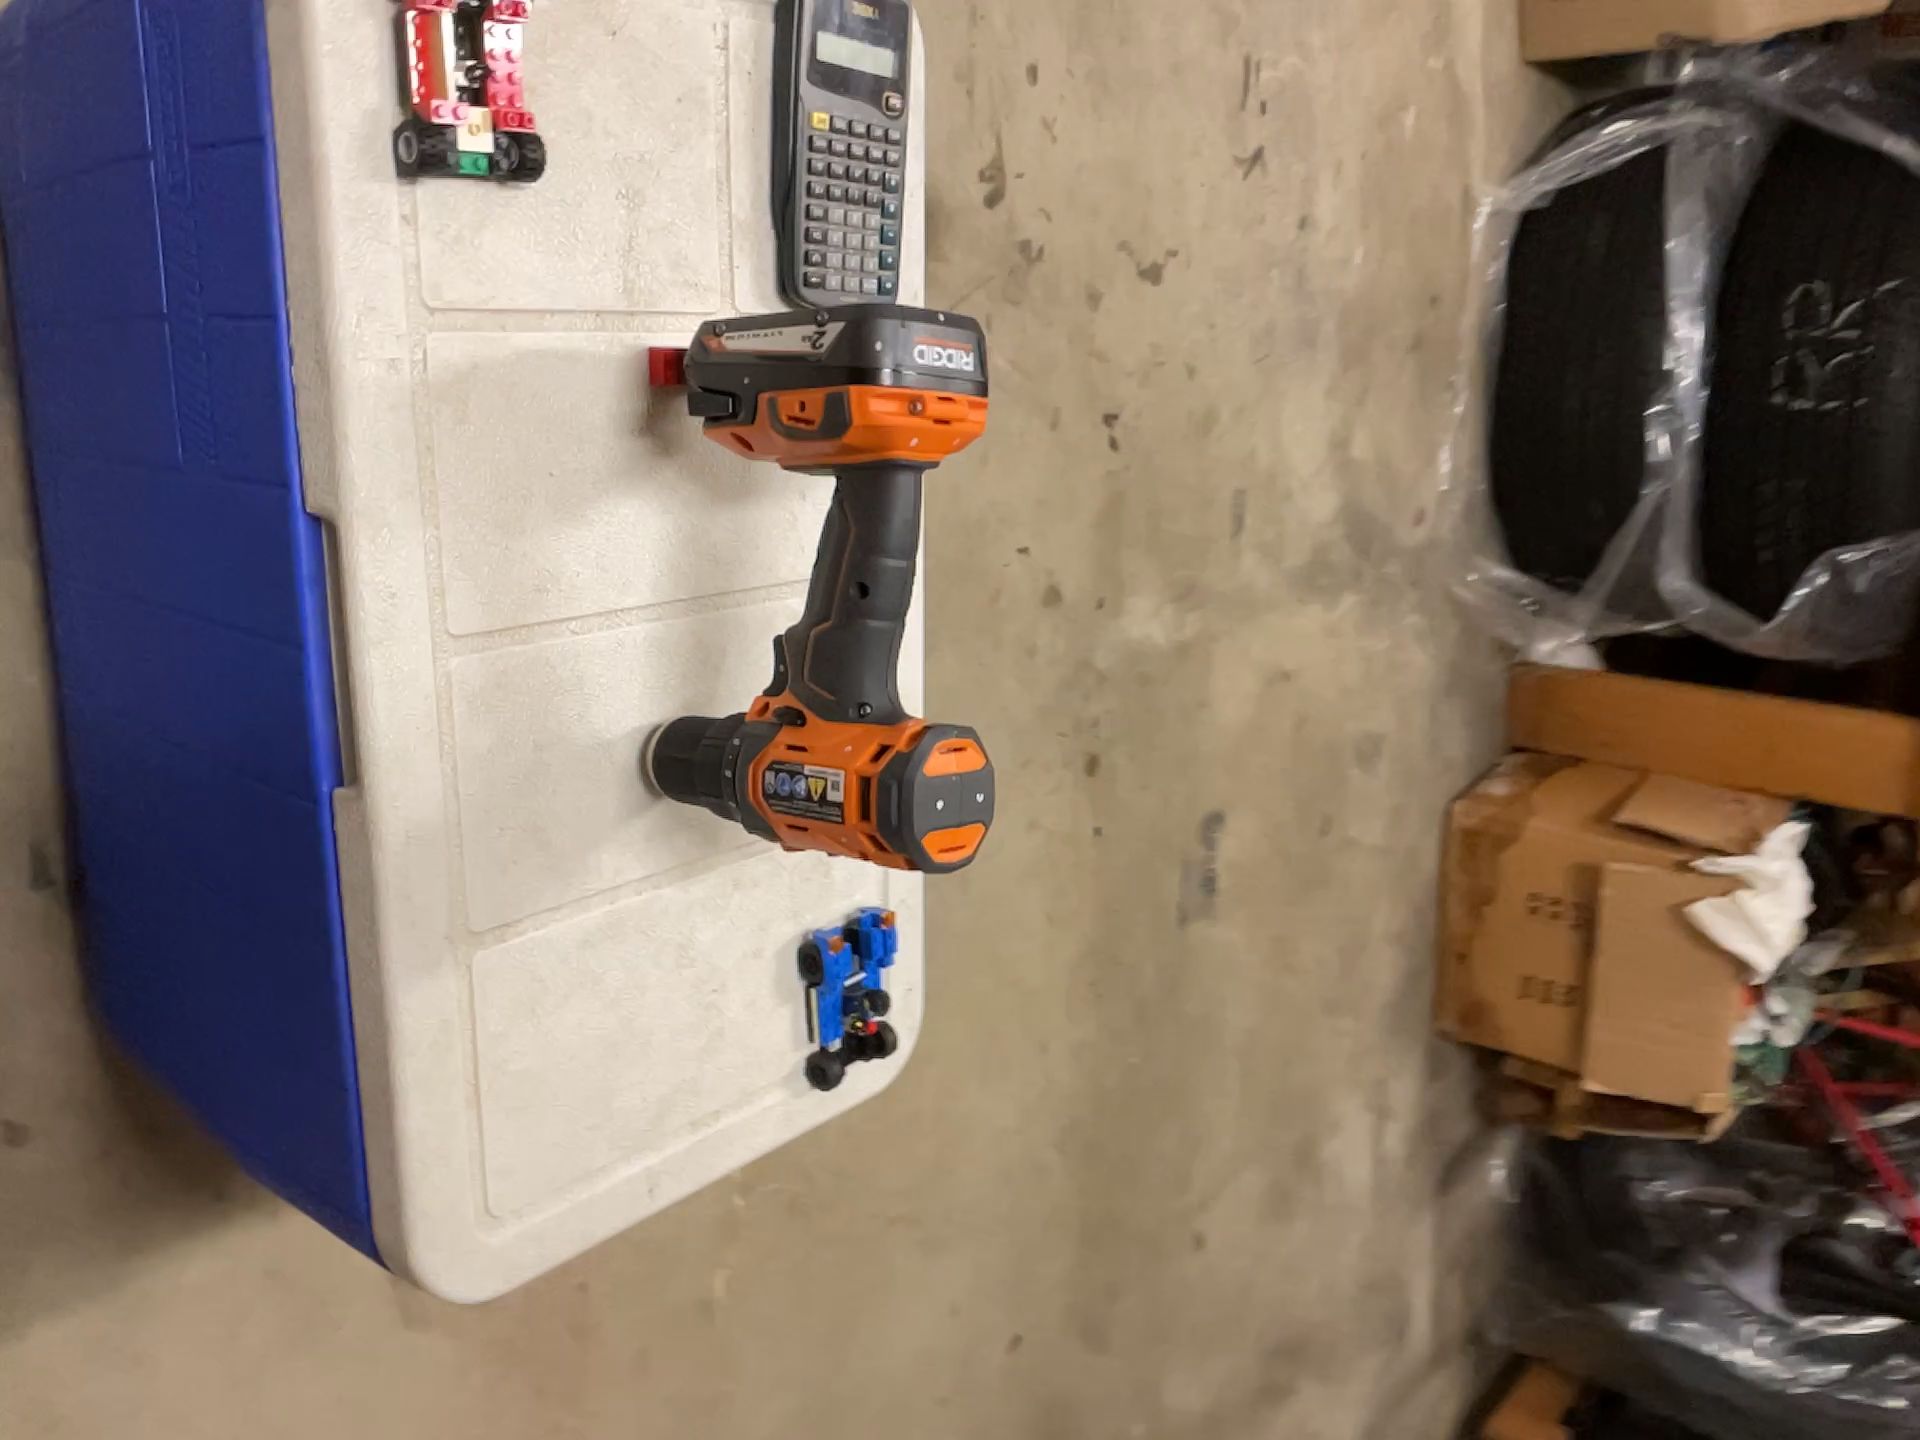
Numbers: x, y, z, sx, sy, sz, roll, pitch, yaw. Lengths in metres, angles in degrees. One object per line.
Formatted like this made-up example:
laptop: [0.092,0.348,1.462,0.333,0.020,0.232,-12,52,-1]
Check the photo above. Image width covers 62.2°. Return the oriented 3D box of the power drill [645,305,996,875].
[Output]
power drill: [-0.069,-0.054,0.687,0.084,0.185,0.226,-7,99,-48]
